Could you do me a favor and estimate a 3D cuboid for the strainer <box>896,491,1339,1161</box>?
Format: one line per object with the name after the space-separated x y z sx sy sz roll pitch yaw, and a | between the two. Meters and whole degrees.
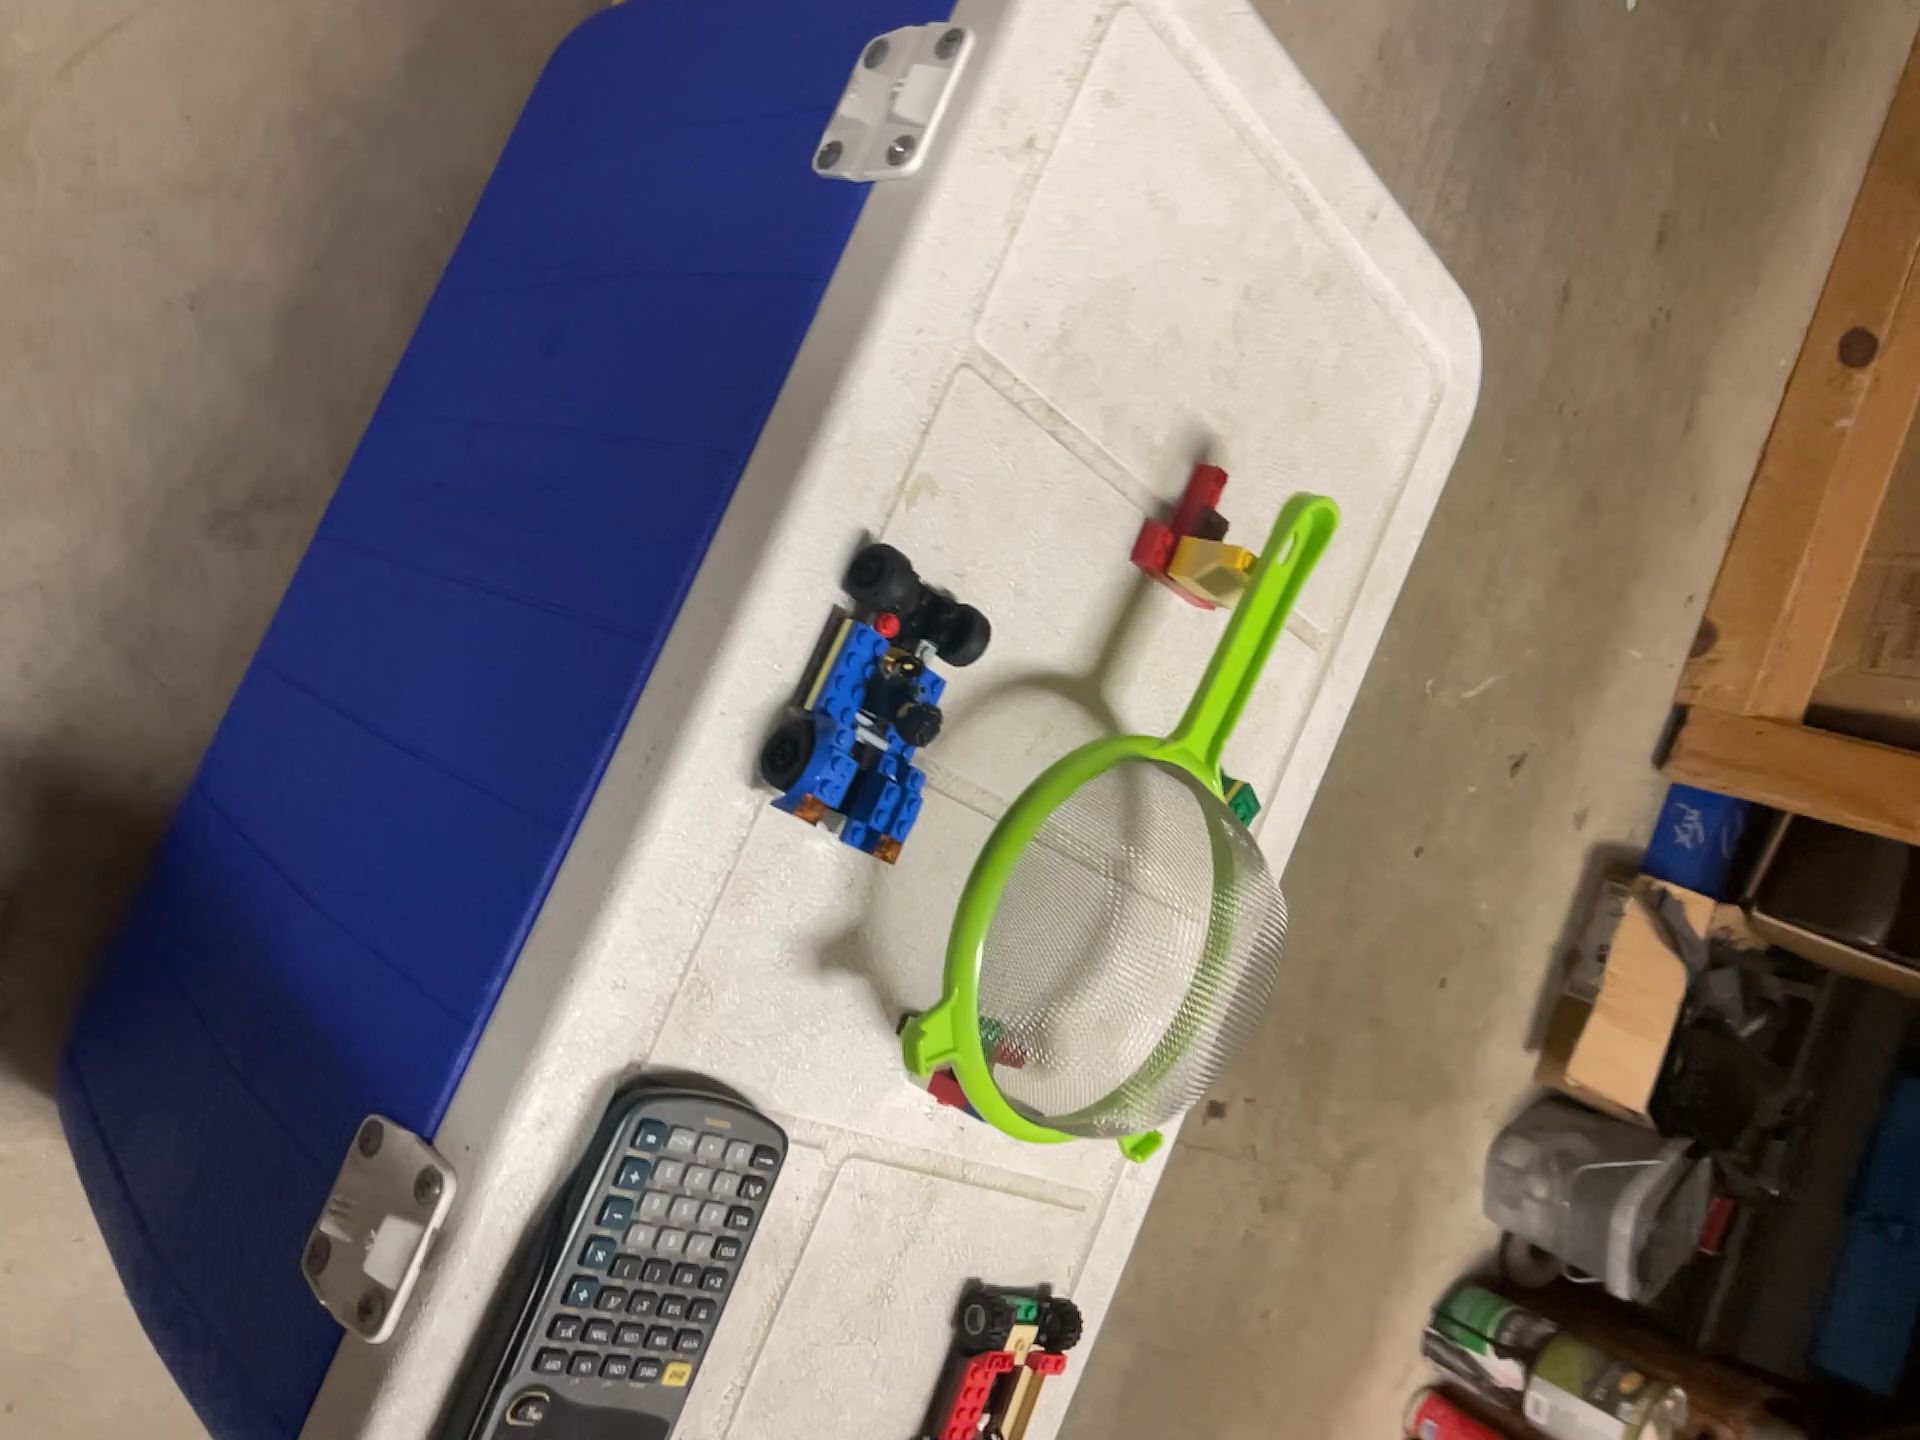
0.092 0.037 0.559 0.151 0.069 0.256 33 80 -43 | strainer
